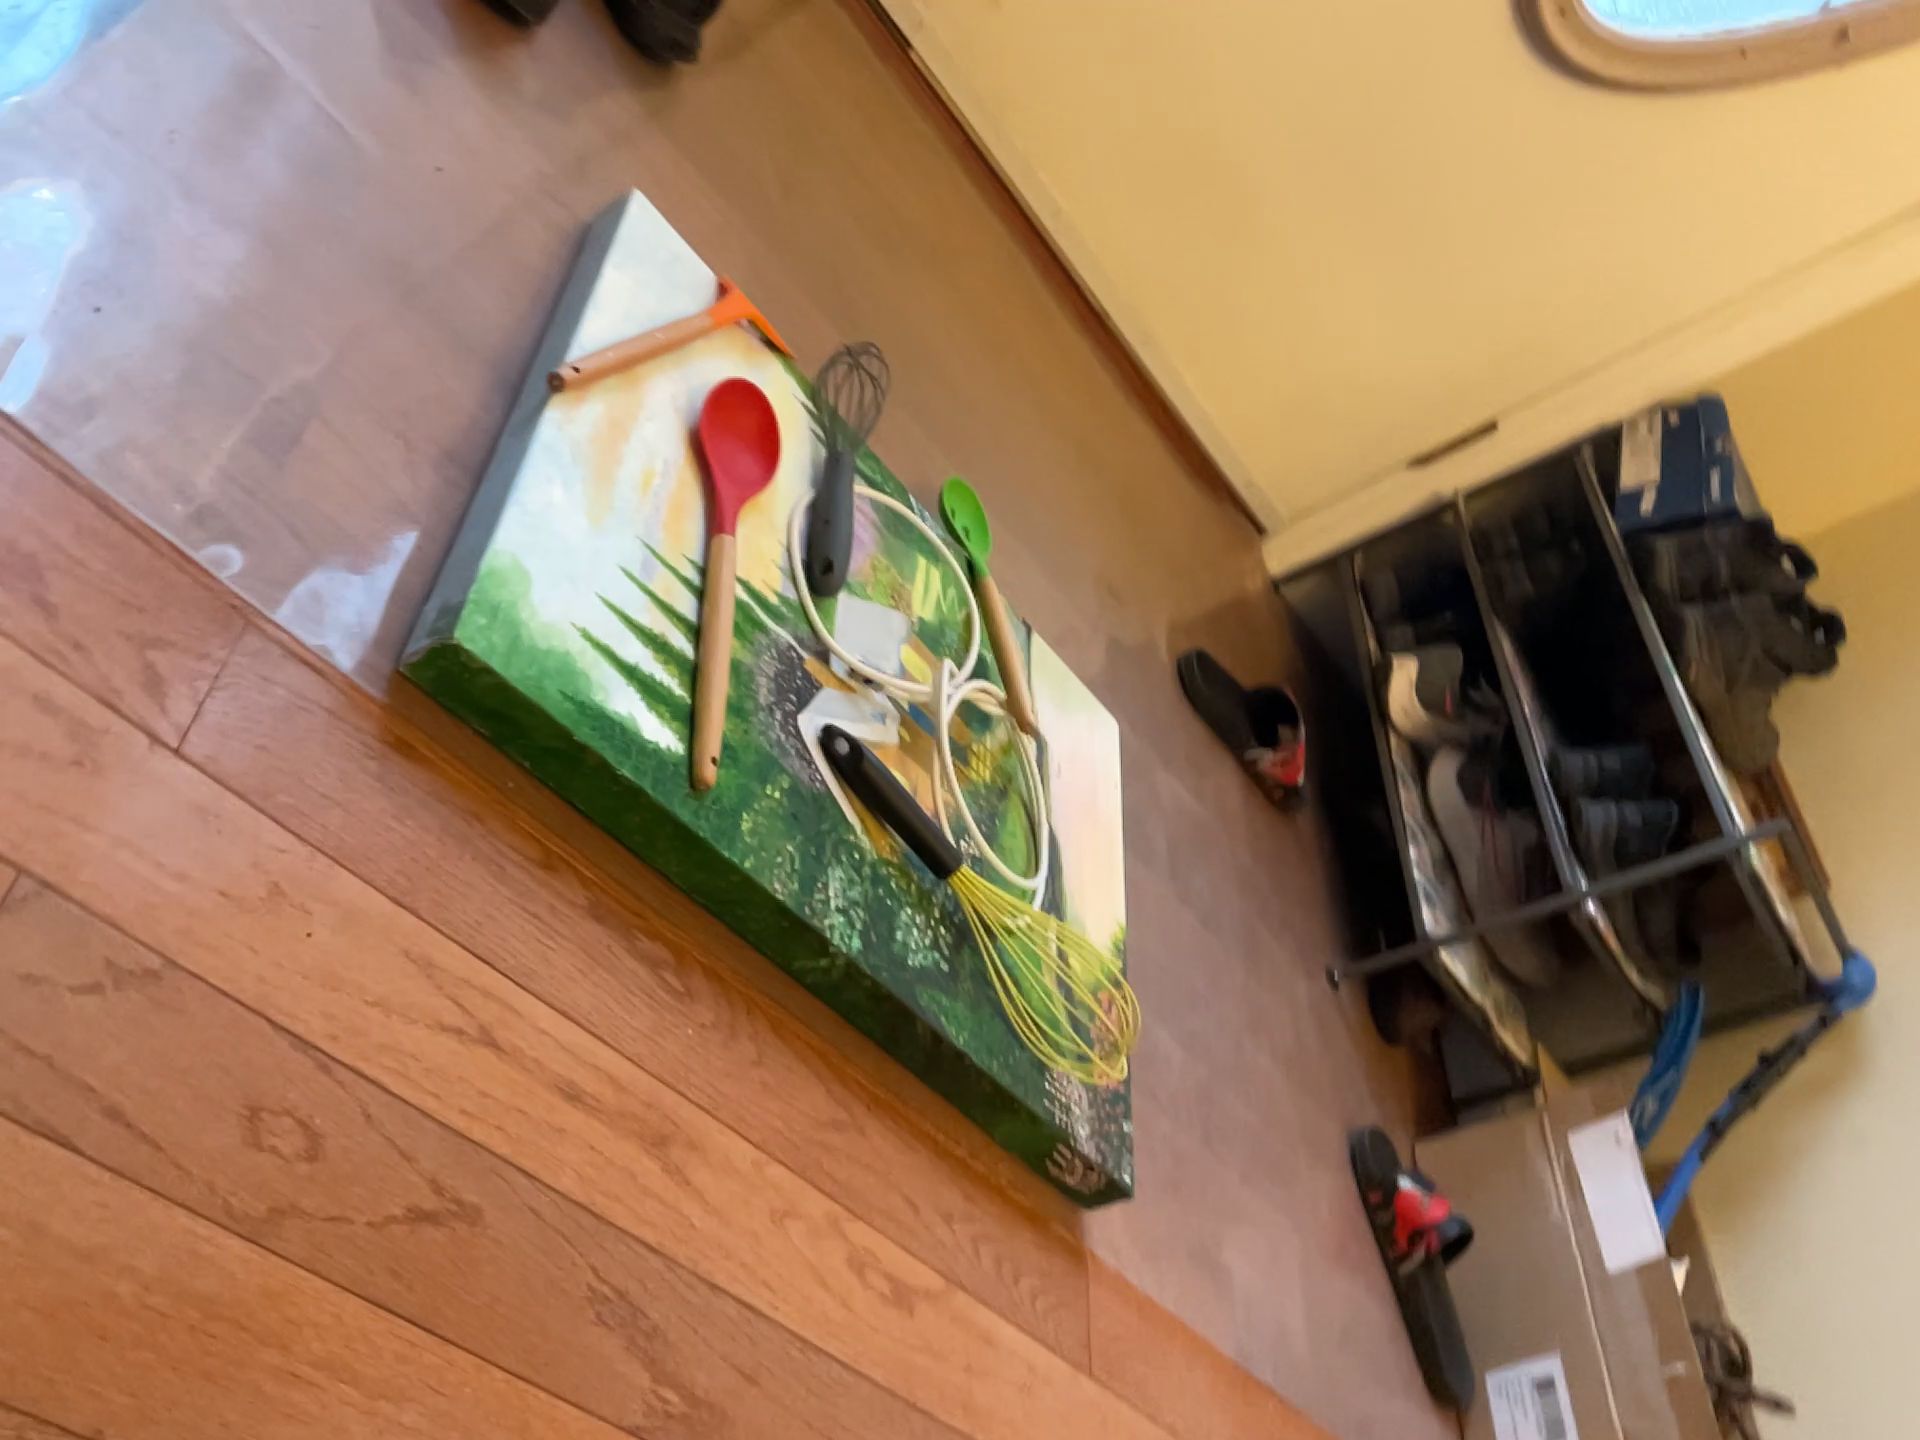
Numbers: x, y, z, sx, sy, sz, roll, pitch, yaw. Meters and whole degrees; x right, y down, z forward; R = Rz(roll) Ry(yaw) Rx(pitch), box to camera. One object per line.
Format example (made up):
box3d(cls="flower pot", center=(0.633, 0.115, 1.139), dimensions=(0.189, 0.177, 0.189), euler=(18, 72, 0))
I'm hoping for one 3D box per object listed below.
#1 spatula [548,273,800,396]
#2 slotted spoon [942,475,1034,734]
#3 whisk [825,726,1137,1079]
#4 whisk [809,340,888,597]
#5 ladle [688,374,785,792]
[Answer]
box3d(cls="spatula", center=(-0.183, -0.248, 1.040), dimensions=(0.081, 0.041, 0.323), euler=(49, 30, -6))
box3d(cls="slotted spoon", center=(0.023, -0.094, 1.246), dimensions=(0.070, 0.031, 0.314), euler=(44, 21, -36))
box3d(cls="whisk", center=(0.013, 0.121, 1.030), dimensions=(0.311, 0.067, 0.080), euler=(50, 24, -15))
box3d(cls="whisk", center=(-0.082, -0.182, 1.124), dimensions=(0.055, 0.055, 0.239), euler=(30, 47, -33))
box3d(cls="ladle", center=(-0.141, -0.089, 0.954), dimensions=(0.069, 0.031, 0.316), euler=(39, 38, -40))
